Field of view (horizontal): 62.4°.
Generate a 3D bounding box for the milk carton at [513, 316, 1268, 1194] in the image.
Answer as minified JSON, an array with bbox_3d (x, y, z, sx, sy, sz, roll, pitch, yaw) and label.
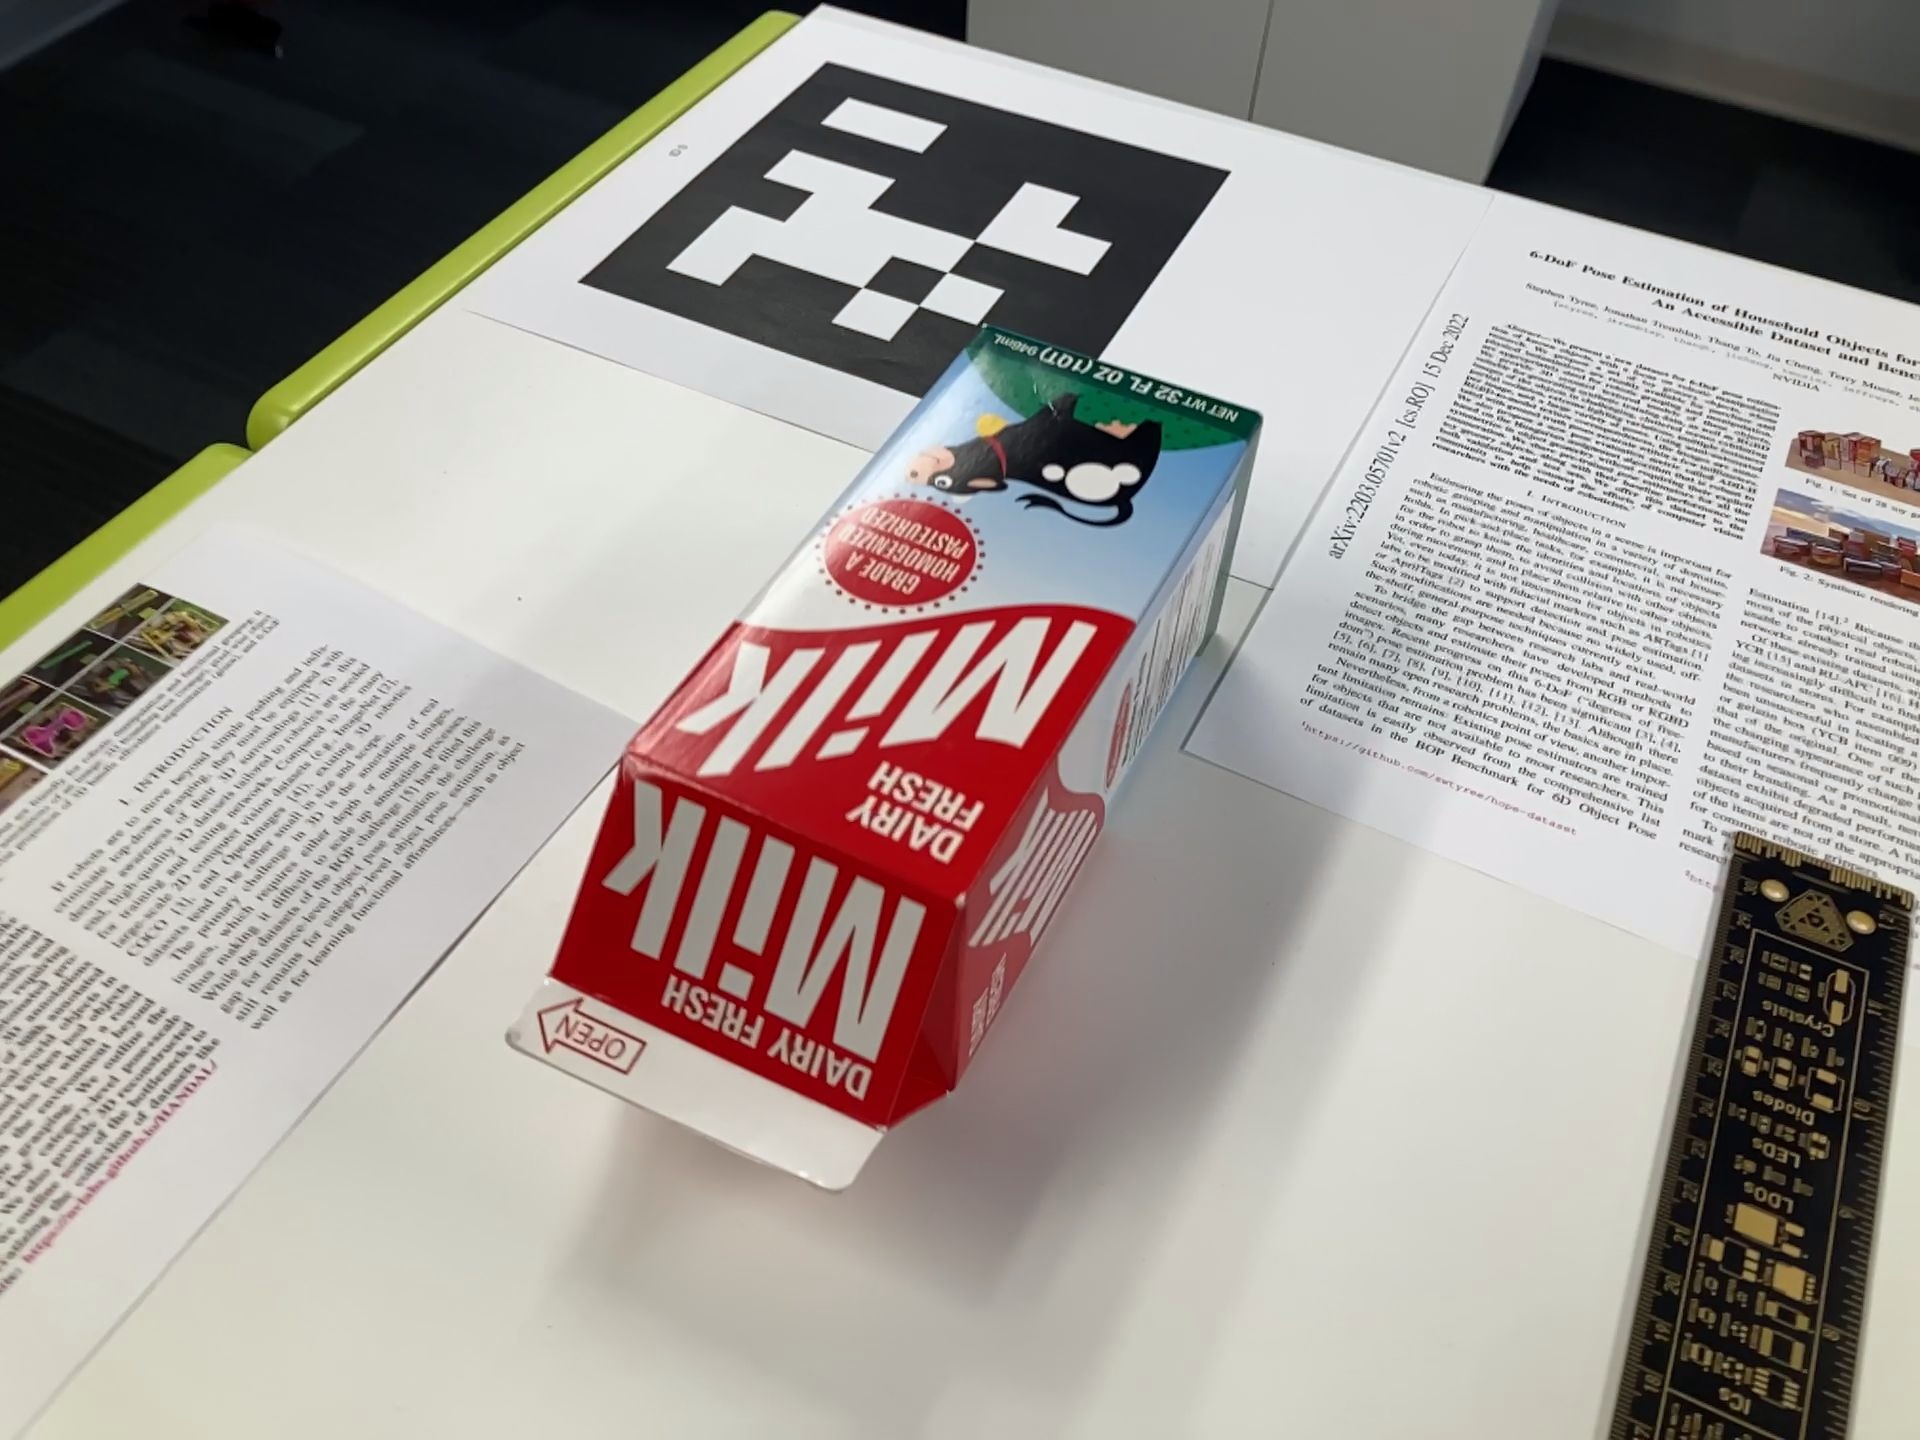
[{"bbox_3d":[-0.007,0.004,0.332,0.072,0.073,0.190,23,53,15],"label":"milk carton"}]
